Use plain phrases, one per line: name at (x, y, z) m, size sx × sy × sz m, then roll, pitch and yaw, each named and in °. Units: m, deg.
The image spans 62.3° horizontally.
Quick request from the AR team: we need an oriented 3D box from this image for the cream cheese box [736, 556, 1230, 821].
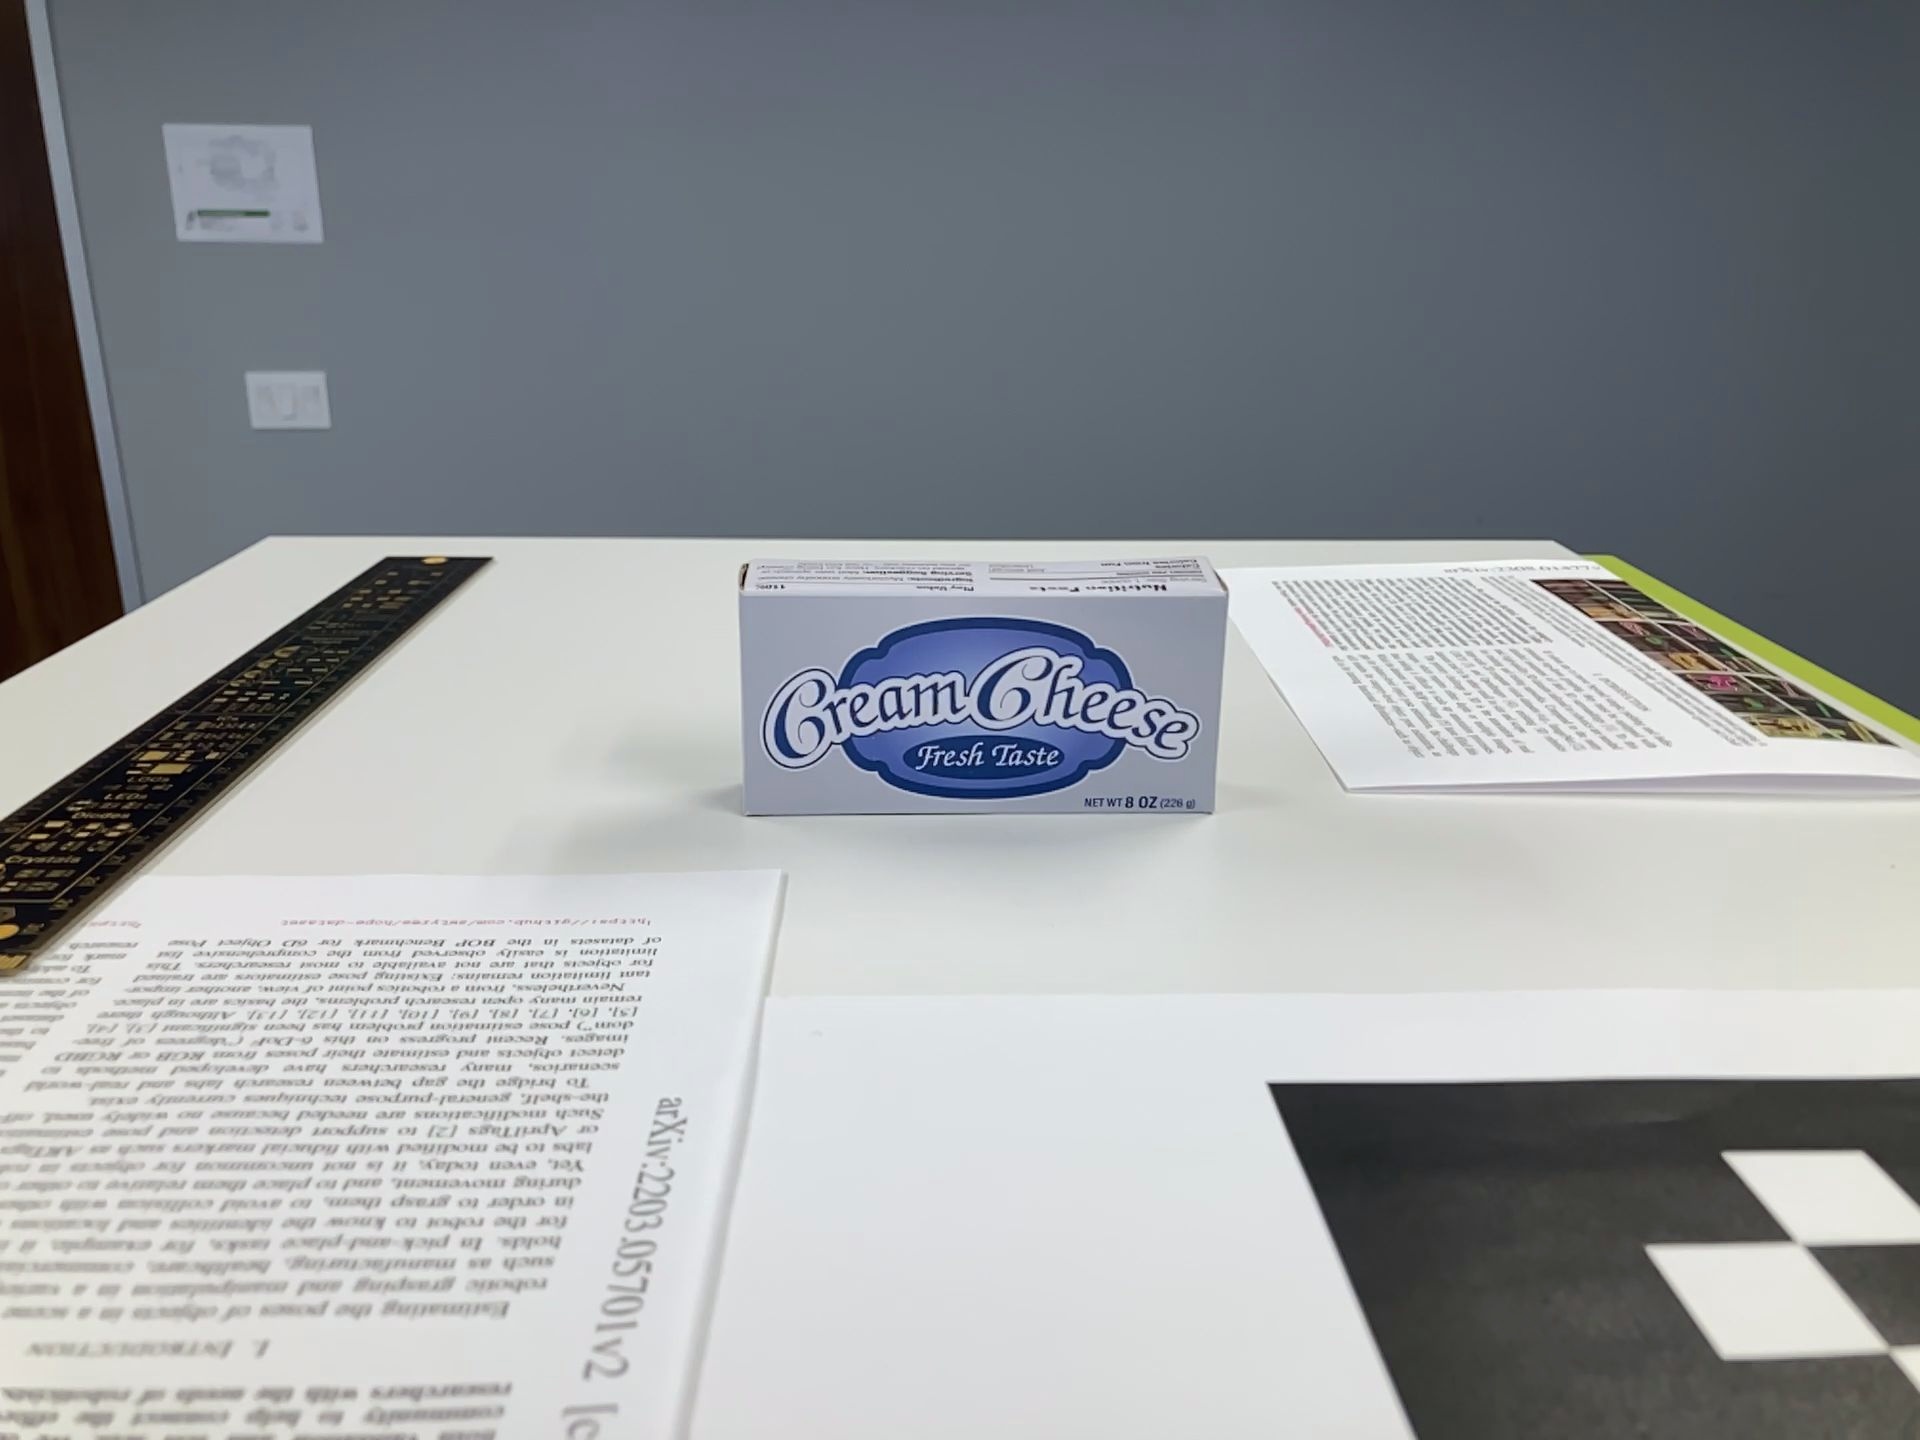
cream cheese box at (0.004, -0.007, 0.344) m, size 0.104 × 0.053 × 0.024 m, roll -1°, pitch 21°, yaw -2°
